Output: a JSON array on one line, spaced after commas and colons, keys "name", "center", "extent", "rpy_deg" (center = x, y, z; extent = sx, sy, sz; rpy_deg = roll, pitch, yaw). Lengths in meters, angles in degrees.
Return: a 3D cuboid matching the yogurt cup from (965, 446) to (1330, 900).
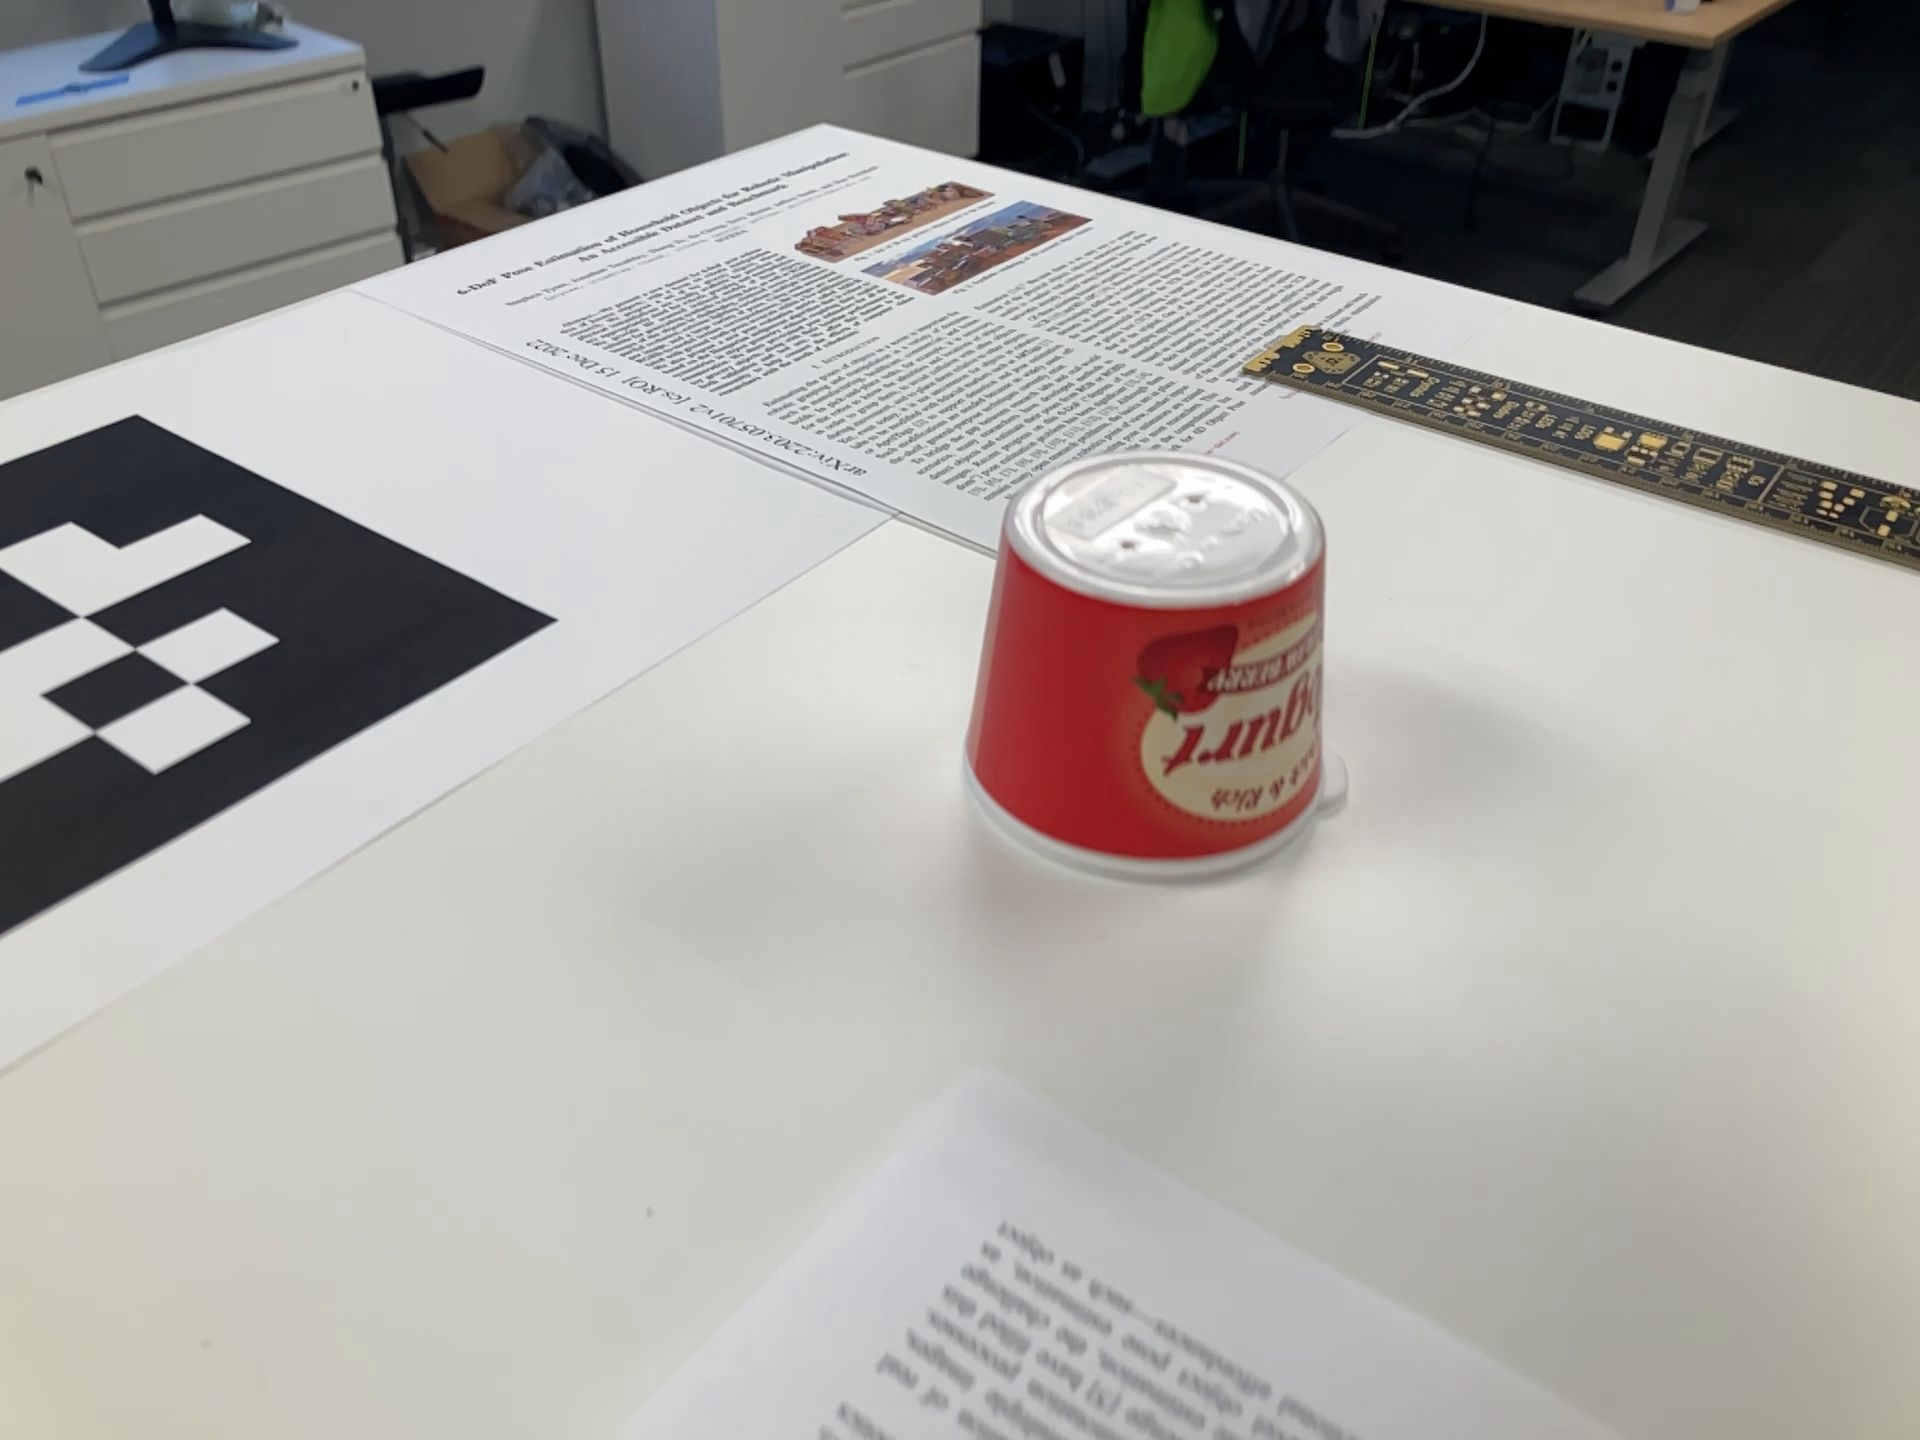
[{"name": "yogurt cup", "center": [0.035, -0.013, 0.284], "extent": [0.072, 0.054, 0.072], "rpy_deg": [0, 37, 0]}]
